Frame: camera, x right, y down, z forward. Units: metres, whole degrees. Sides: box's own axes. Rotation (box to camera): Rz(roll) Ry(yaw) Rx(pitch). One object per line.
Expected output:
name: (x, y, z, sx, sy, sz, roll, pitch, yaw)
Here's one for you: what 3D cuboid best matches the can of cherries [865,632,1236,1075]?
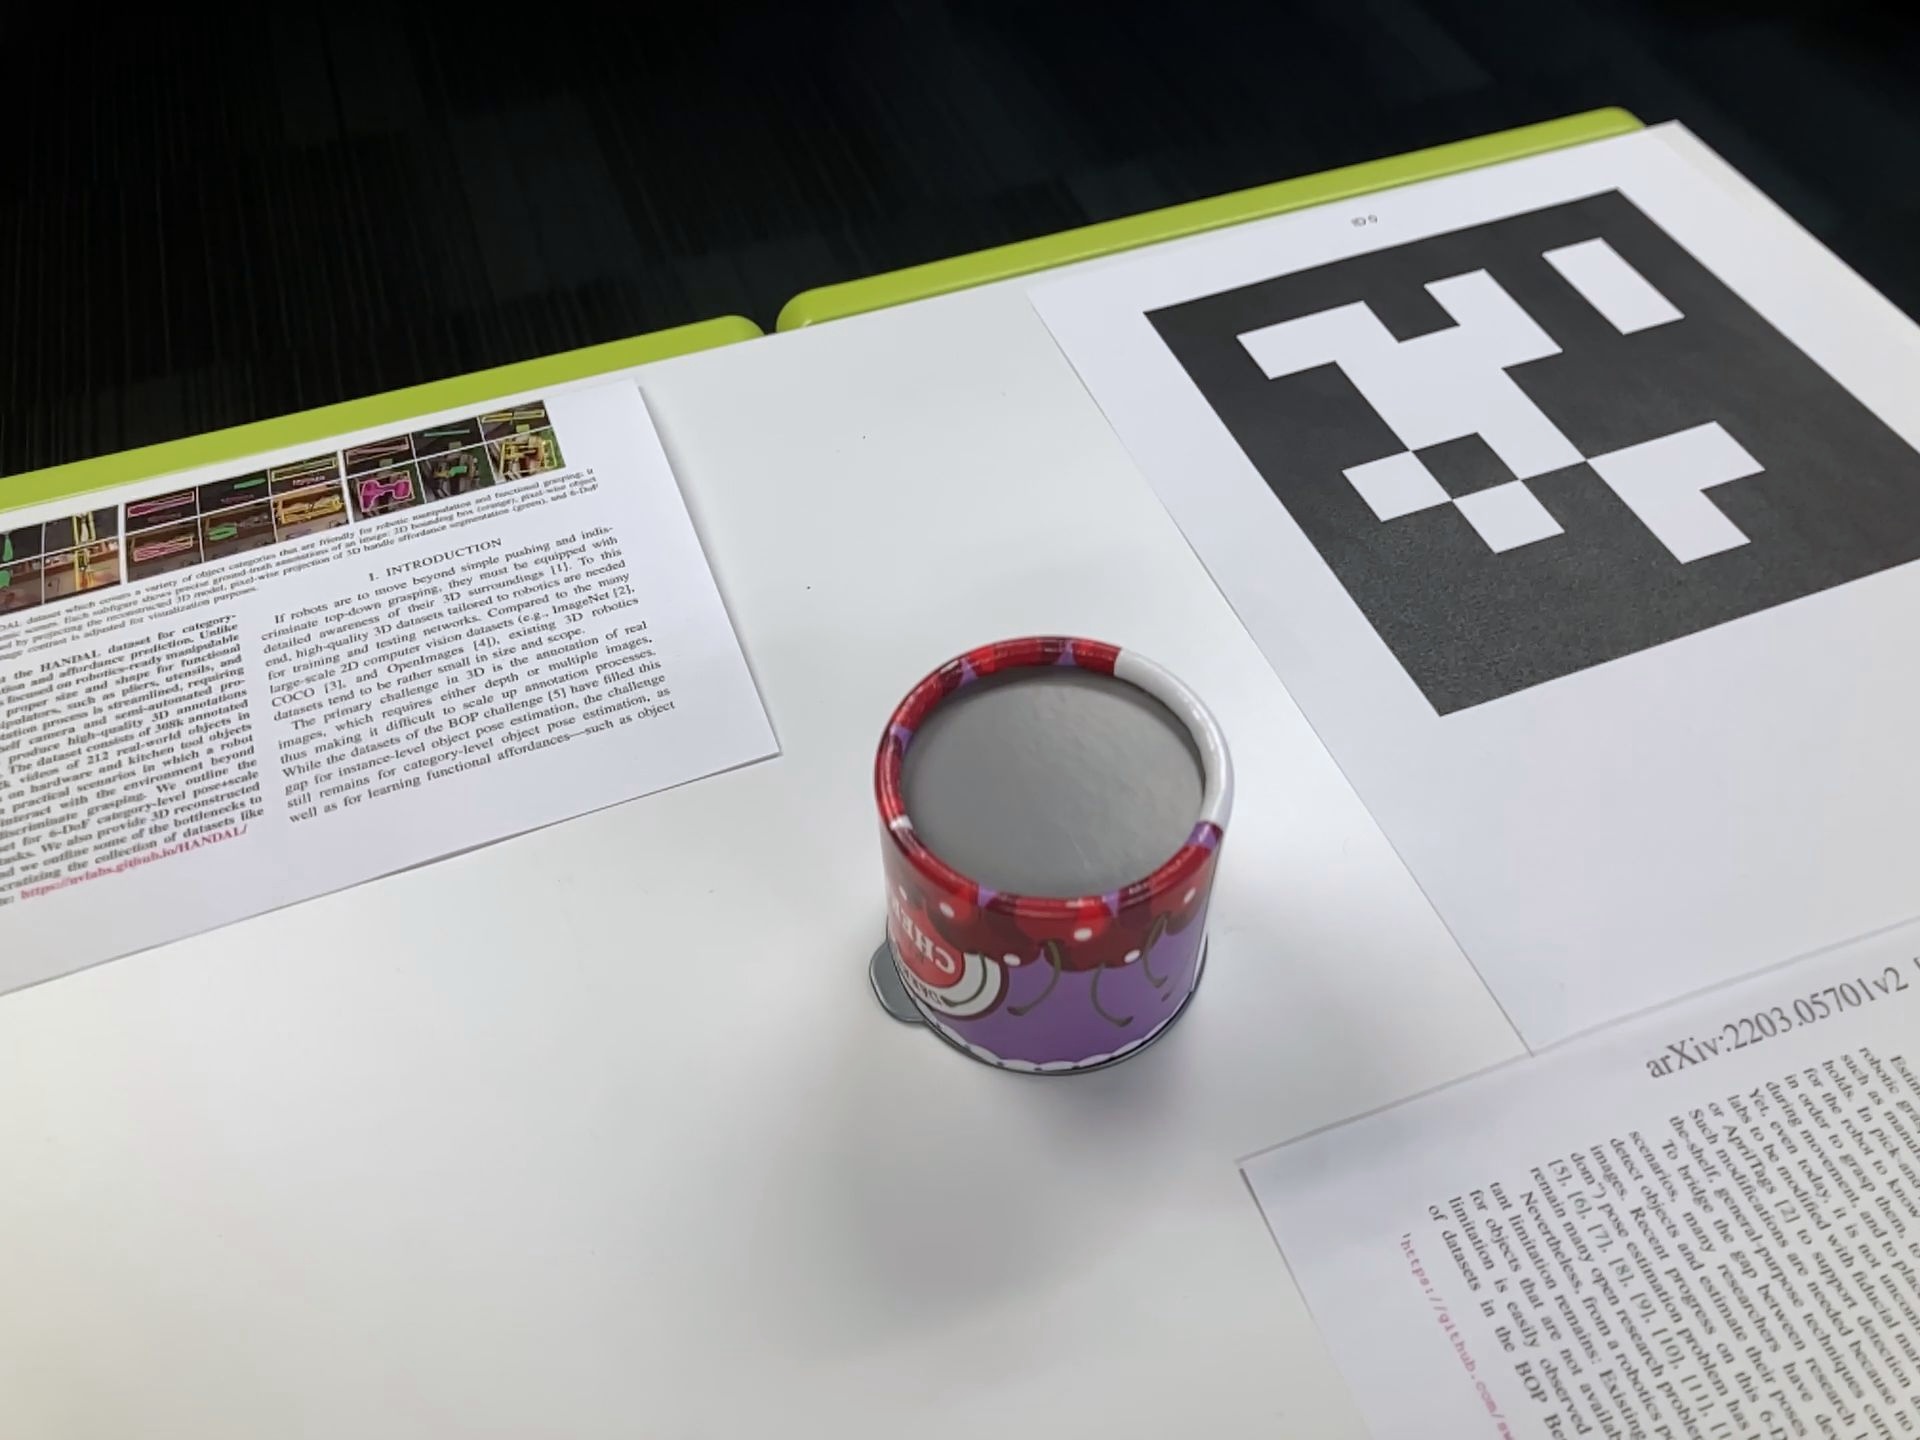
can of cherries: (0.015, 0.026, 0.305, 0.071, 0.058, 0.071, -1, 52, 1)
